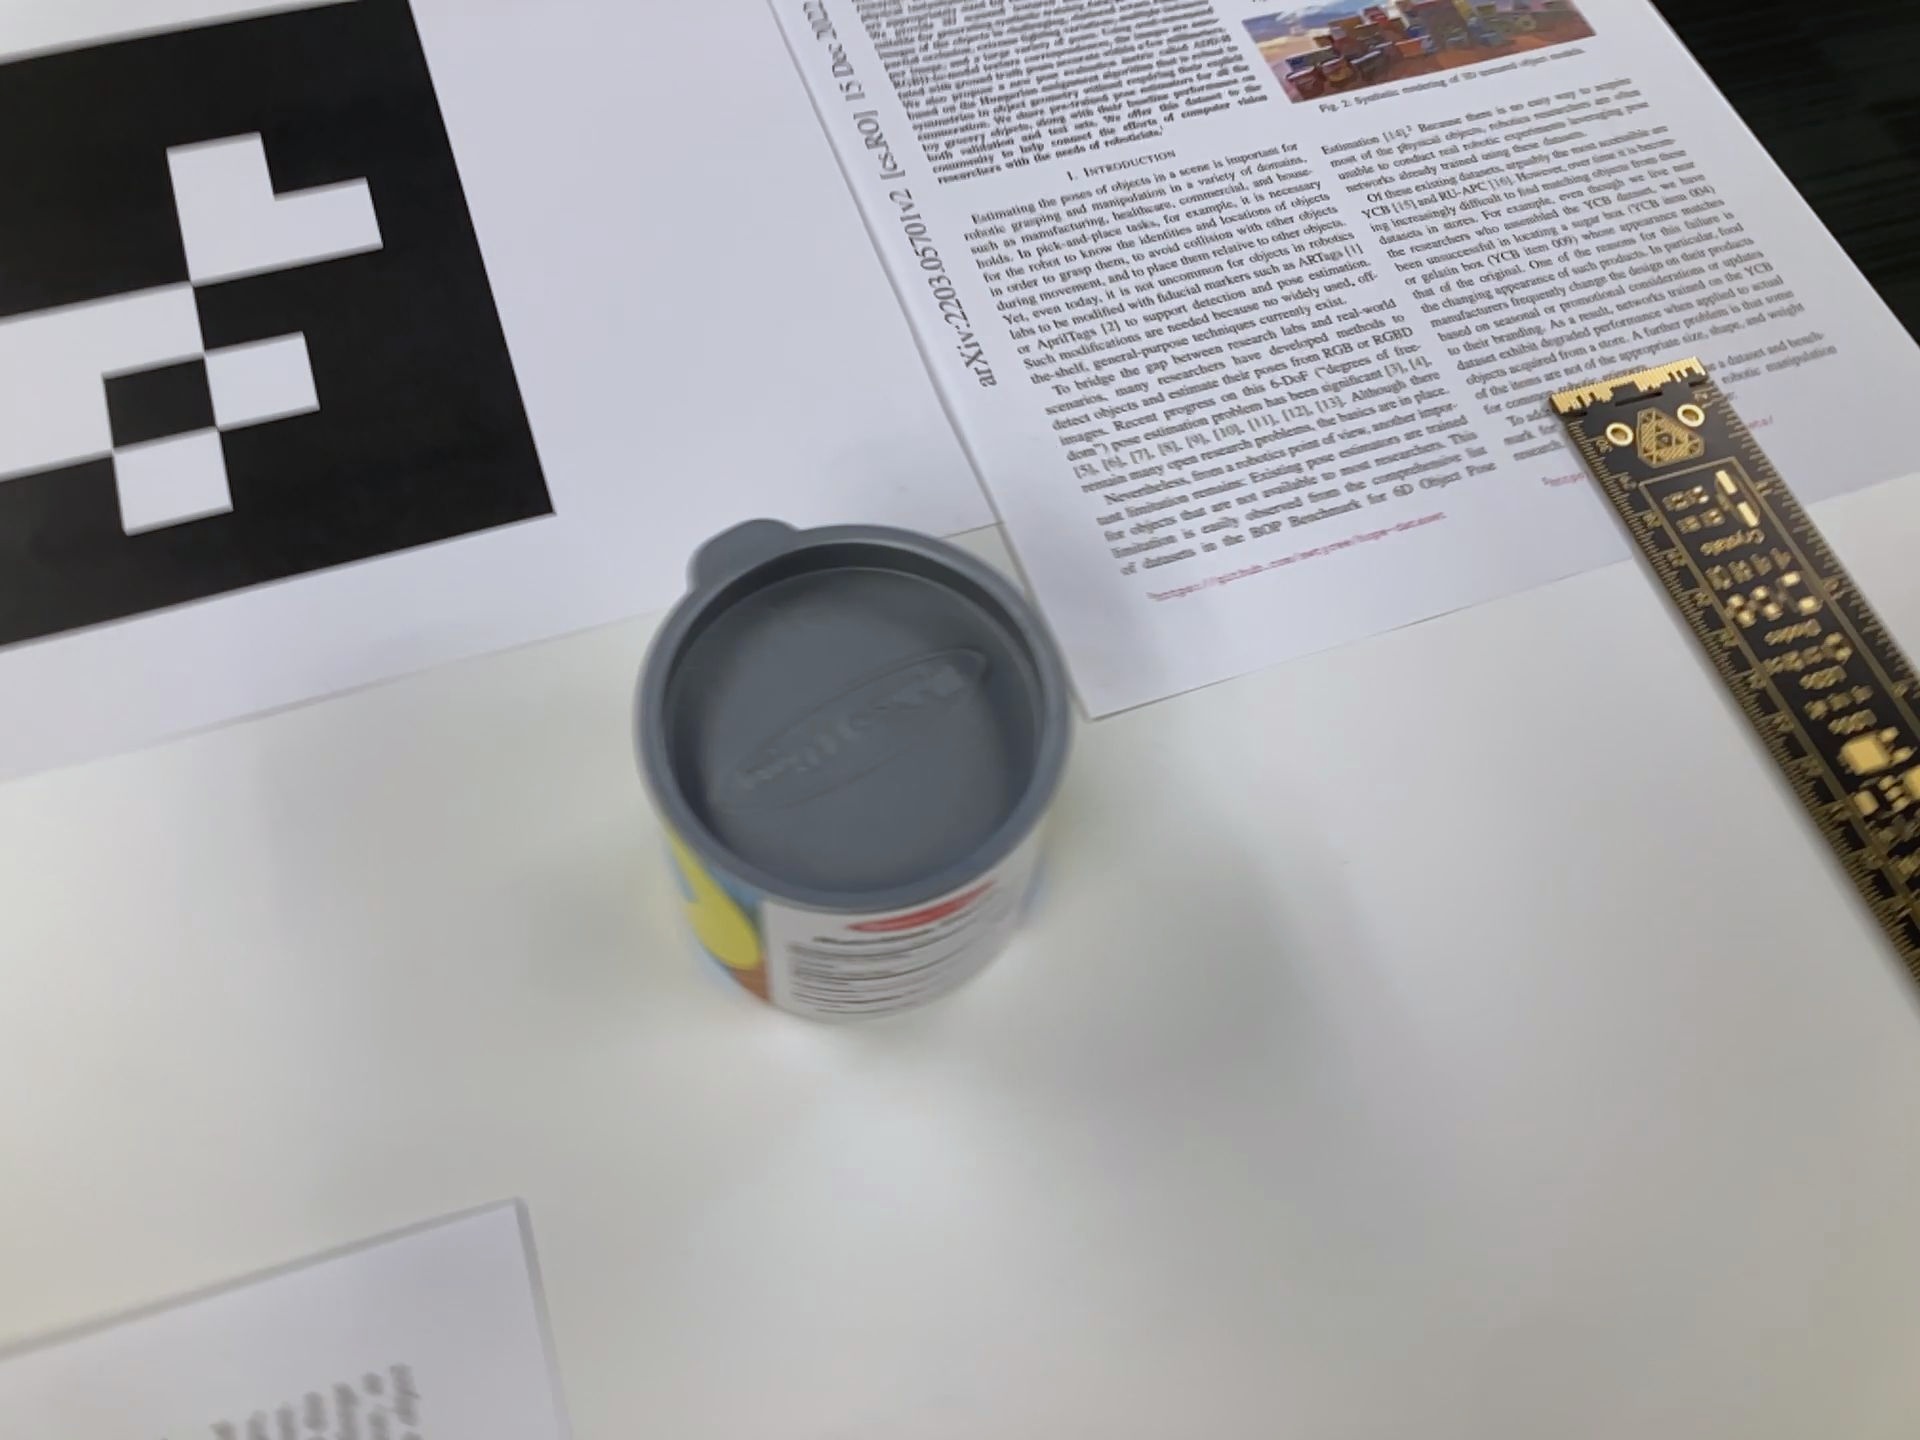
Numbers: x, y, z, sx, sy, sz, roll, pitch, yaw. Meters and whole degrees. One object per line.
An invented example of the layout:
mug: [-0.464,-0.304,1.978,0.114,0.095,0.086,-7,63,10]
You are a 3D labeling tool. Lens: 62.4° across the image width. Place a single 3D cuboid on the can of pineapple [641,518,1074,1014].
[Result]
can of pineapple: [-0.018,0.008,0.267,0.071,0.058,0.071,2,62,-4]
